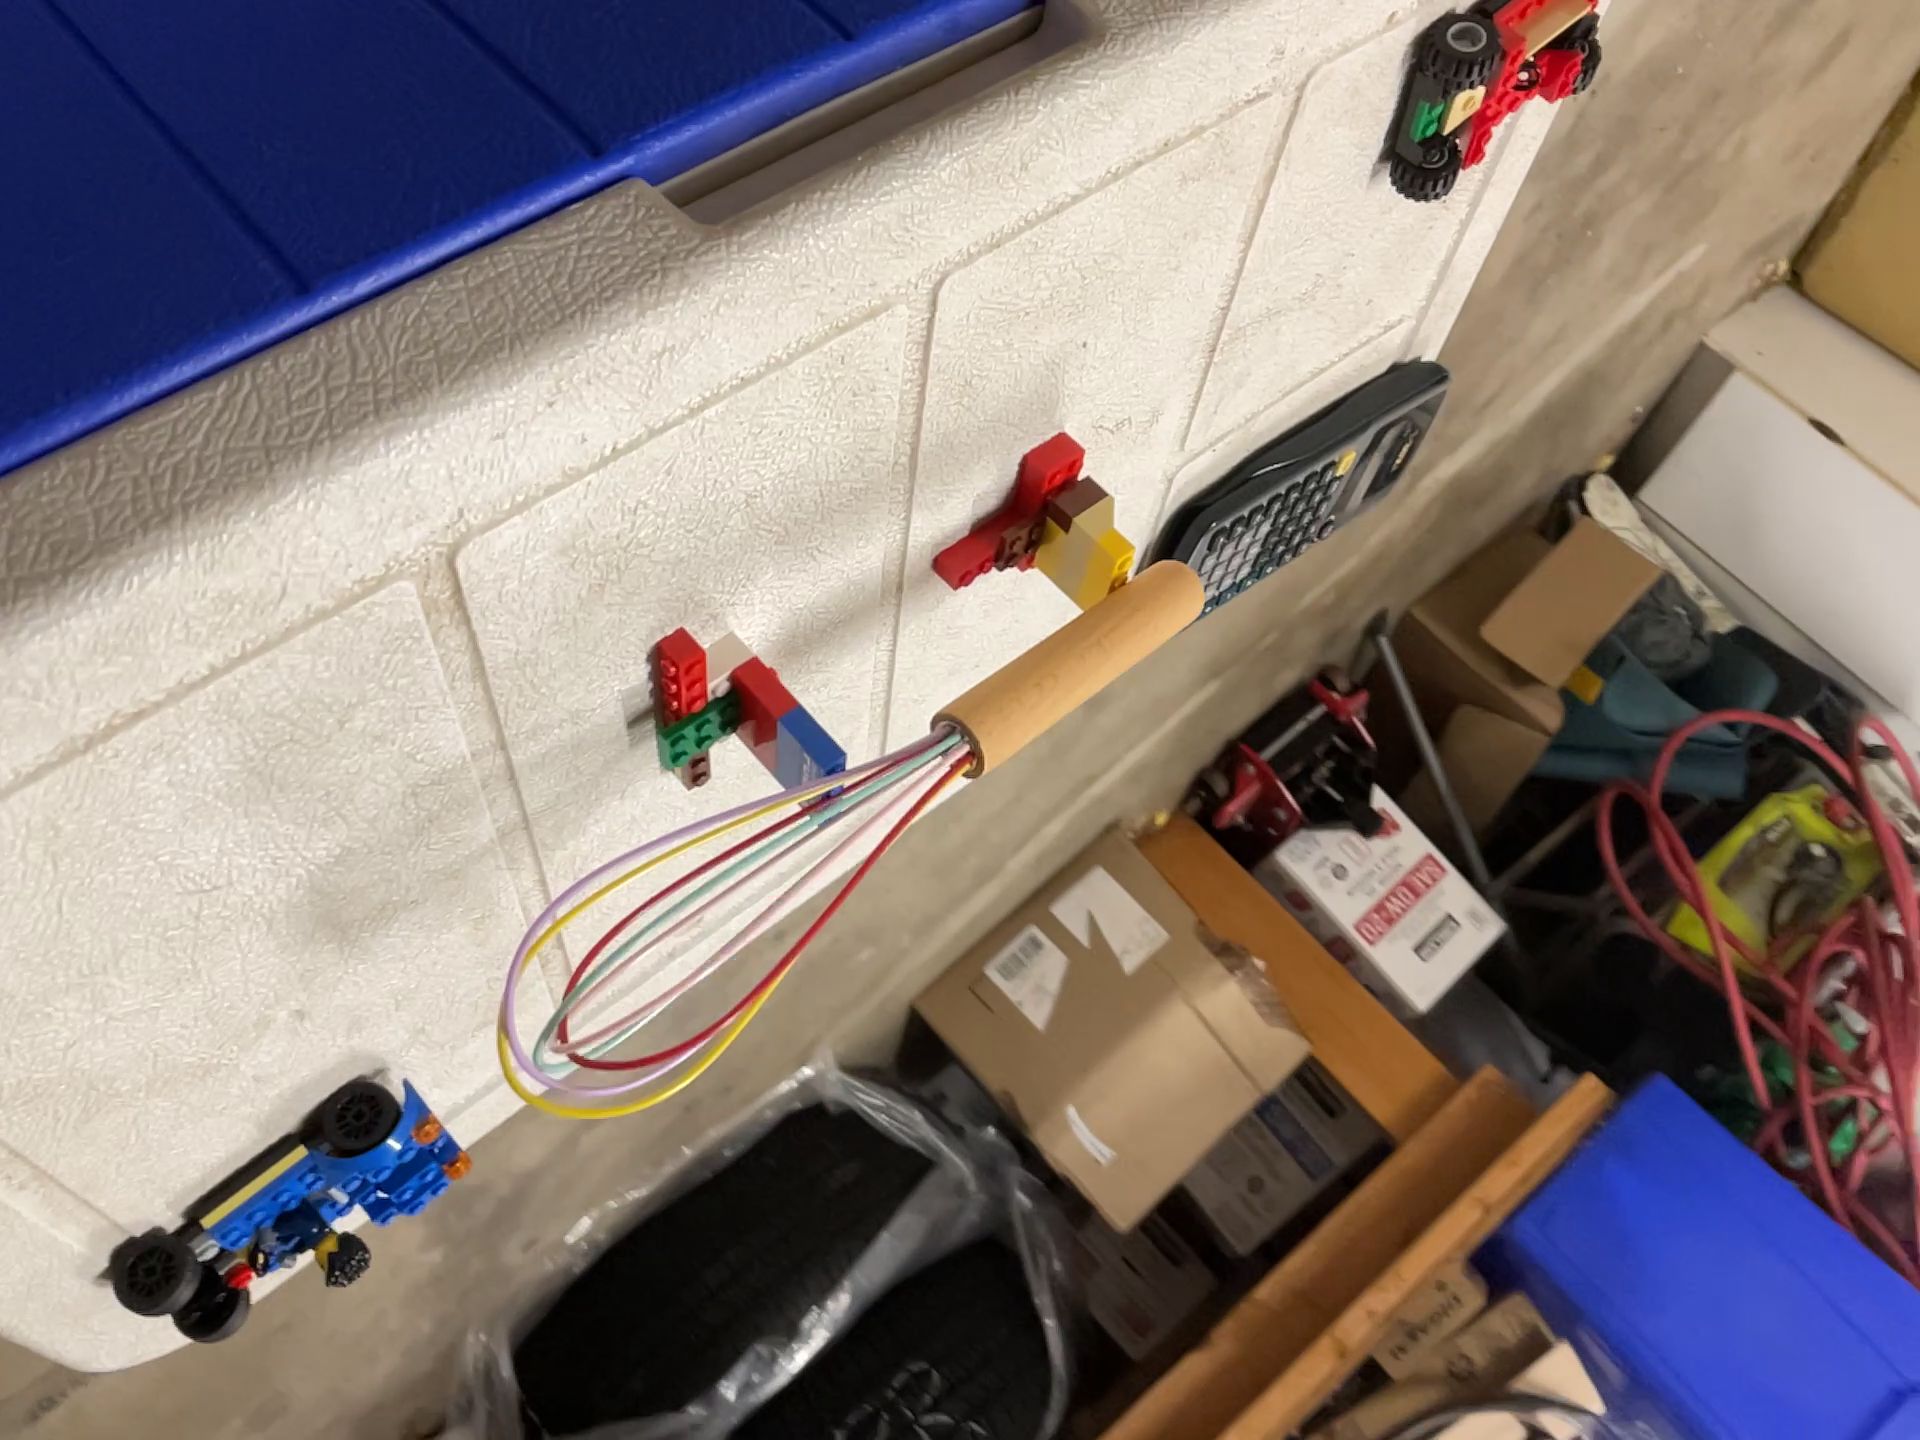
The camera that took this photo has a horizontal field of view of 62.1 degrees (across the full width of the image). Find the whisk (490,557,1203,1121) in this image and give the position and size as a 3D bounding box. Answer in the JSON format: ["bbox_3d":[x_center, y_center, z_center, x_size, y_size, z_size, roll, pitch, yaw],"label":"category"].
[{"bbox_3d":[-0.015,0.021,0.419,0.245,0.047,0.051,-35,146,-32],"label":"whisk"}]
